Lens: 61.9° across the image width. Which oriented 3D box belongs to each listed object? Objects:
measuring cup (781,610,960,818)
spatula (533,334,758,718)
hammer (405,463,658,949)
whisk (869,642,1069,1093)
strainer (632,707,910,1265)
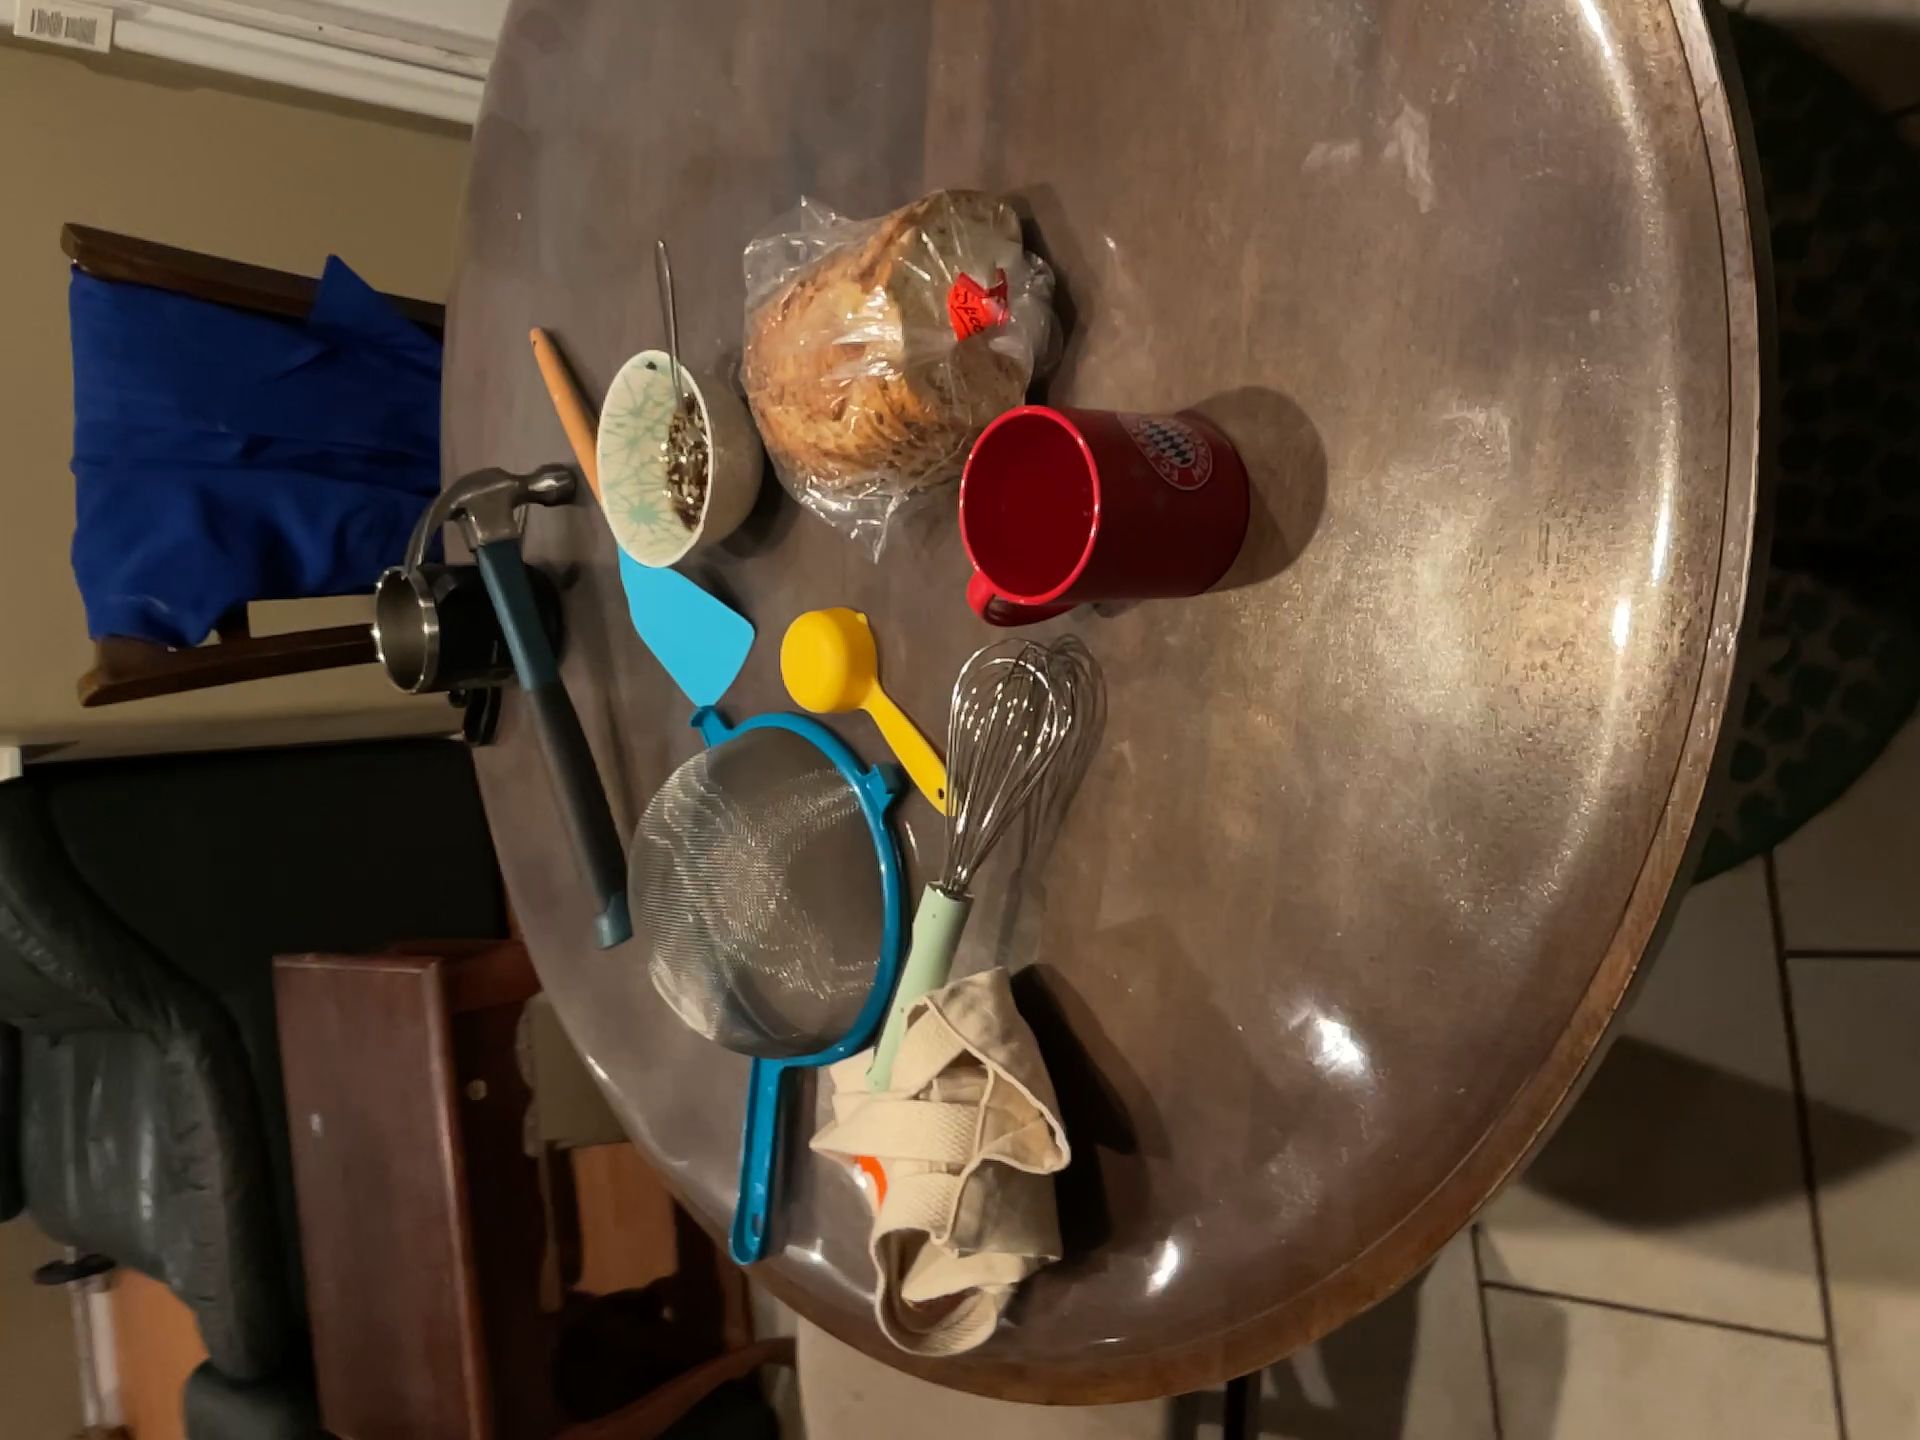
[{"bbox_3d":[-0.051,-0.001,0.869,0.157,0.029,0.062,51,128,33],"label":"measuring cup"},{"bbox_3d":[-0.220,-0.144,1.050,0.082,0.044,0.318,-53,53,38],"label":"spatula"},{"bbox_3d":[-0.273,-0.009,1.075,0.033,0.128,0.331,-22,86,50],"label":"hammer"},{"bbox_3d":[-0.003,0.079,0.790,0.059,0.058,0.246,20,102,13],"label":"whisk"},{"bbox_3d":[-0.137,0.165,0.937,0.211,0.095,0.340,16,102,47],"label":"strainer"}]
